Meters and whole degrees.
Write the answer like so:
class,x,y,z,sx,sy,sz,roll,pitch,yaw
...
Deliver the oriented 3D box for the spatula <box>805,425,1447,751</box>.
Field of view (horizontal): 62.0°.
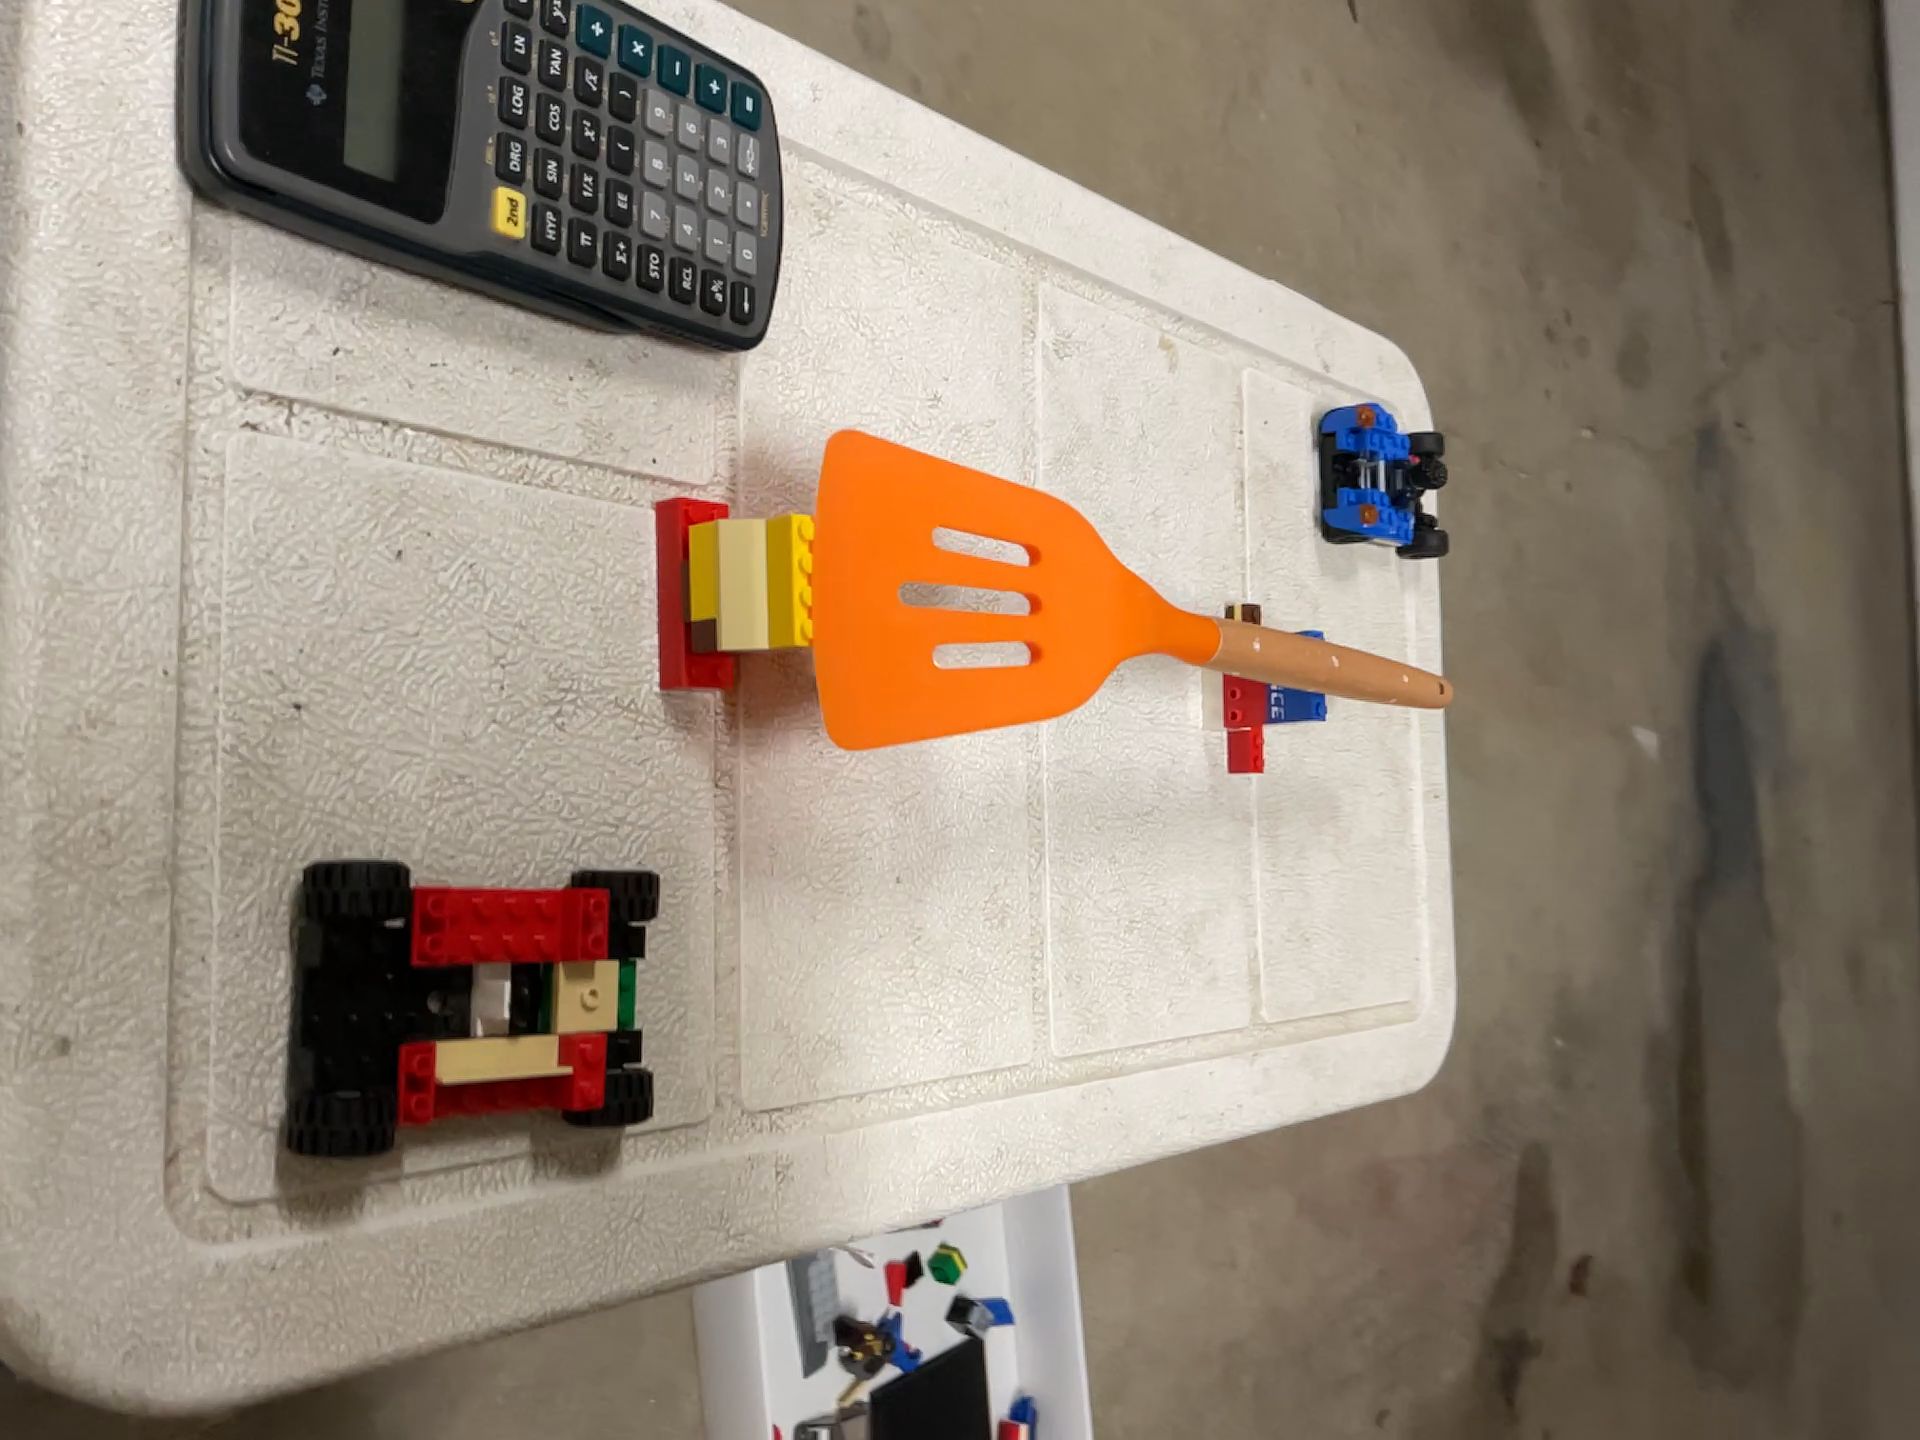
class,x,y,z,sx,sy,sz,roll,pitch,yaw
spatula,0.078,-0.022,0.500,0.322,0.041,0.081,7,80,-52
